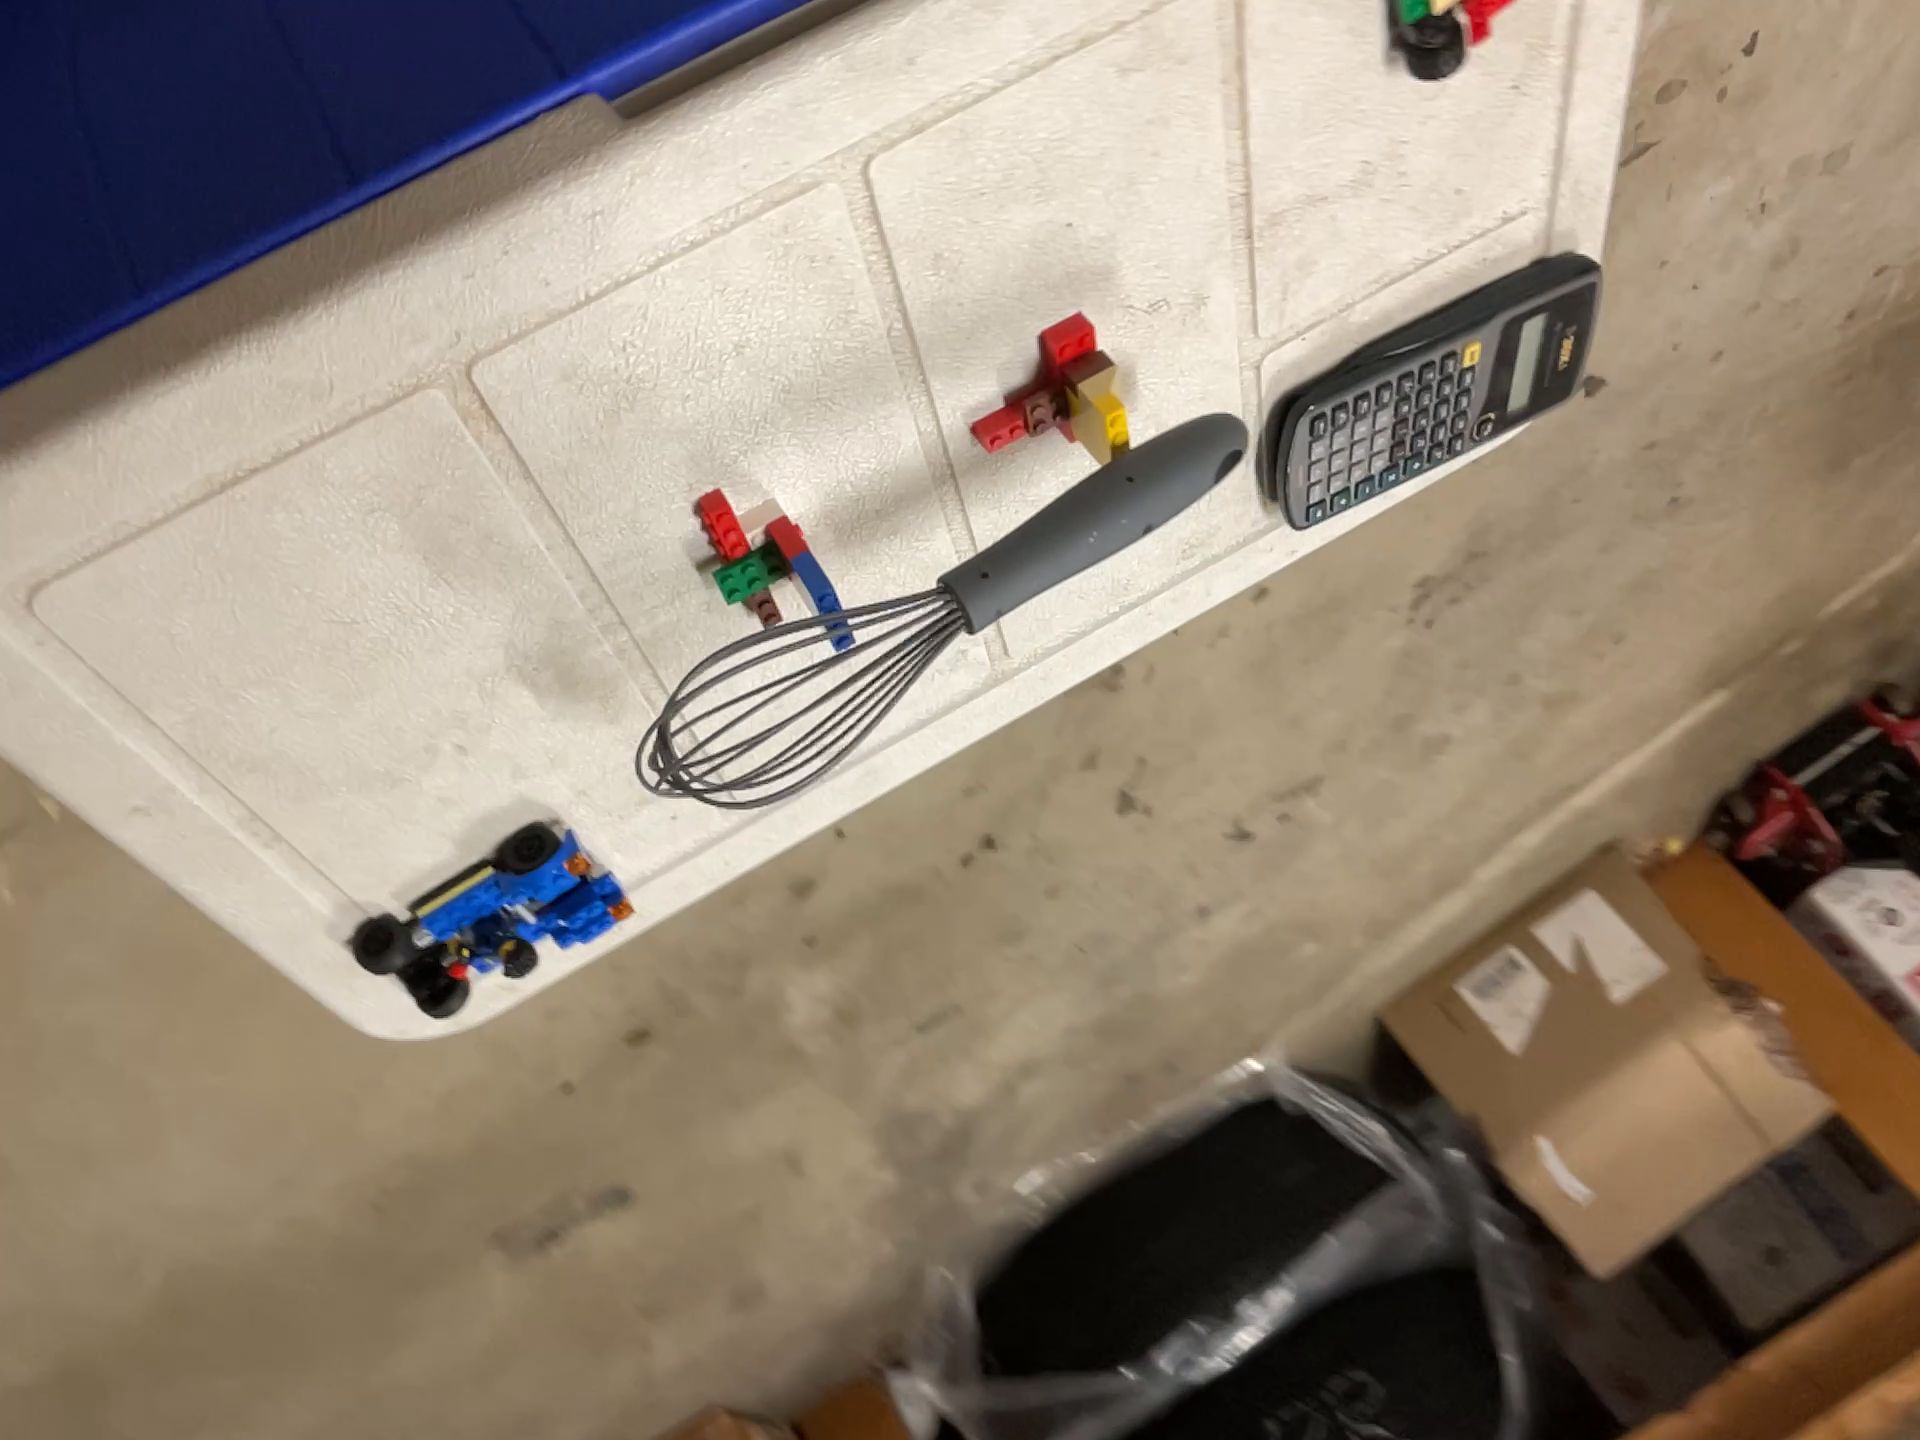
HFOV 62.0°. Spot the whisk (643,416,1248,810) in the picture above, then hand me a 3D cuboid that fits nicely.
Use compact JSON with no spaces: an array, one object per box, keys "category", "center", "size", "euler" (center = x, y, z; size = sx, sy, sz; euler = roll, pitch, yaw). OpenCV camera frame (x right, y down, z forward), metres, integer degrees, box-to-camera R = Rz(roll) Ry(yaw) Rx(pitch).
[{"category":"whisk","center":[-0.001,-0.039,0.531],"size":[0.239,0.055,0.055],"euler":[-31,148,-12]}]
